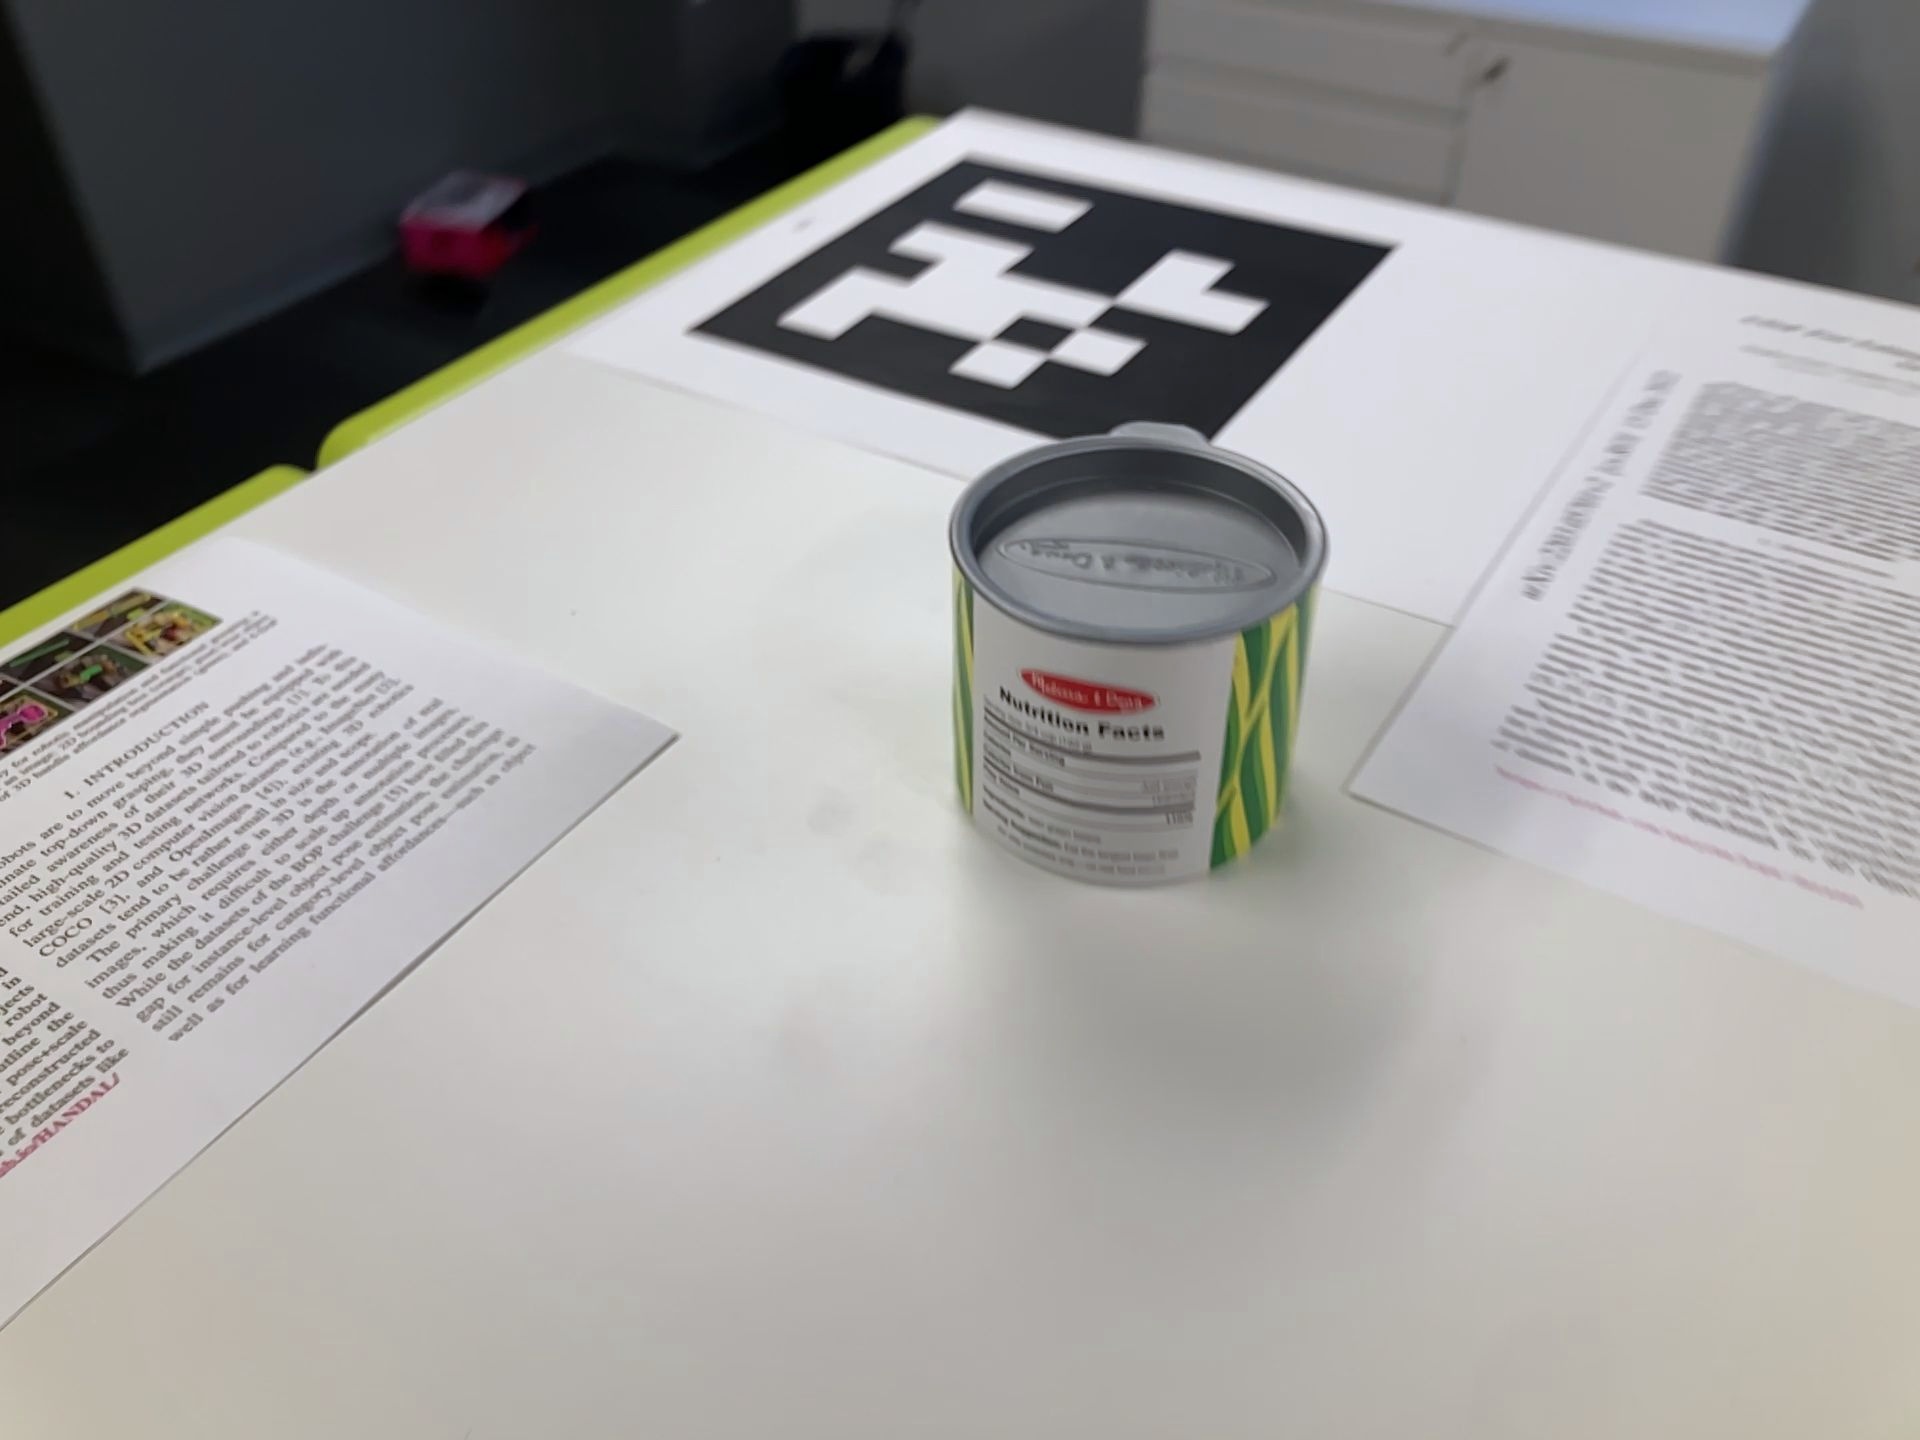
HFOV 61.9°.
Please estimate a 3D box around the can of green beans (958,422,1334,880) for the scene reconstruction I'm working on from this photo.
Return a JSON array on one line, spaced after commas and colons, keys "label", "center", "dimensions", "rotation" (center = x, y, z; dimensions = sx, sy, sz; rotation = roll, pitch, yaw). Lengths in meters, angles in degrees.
[{"label": "can of green beans", "center": [0.033, -0.012, 0.302], "dimensions": [0.071, 0.058, 0.071], "rotation": [0, 40, 0]}]
